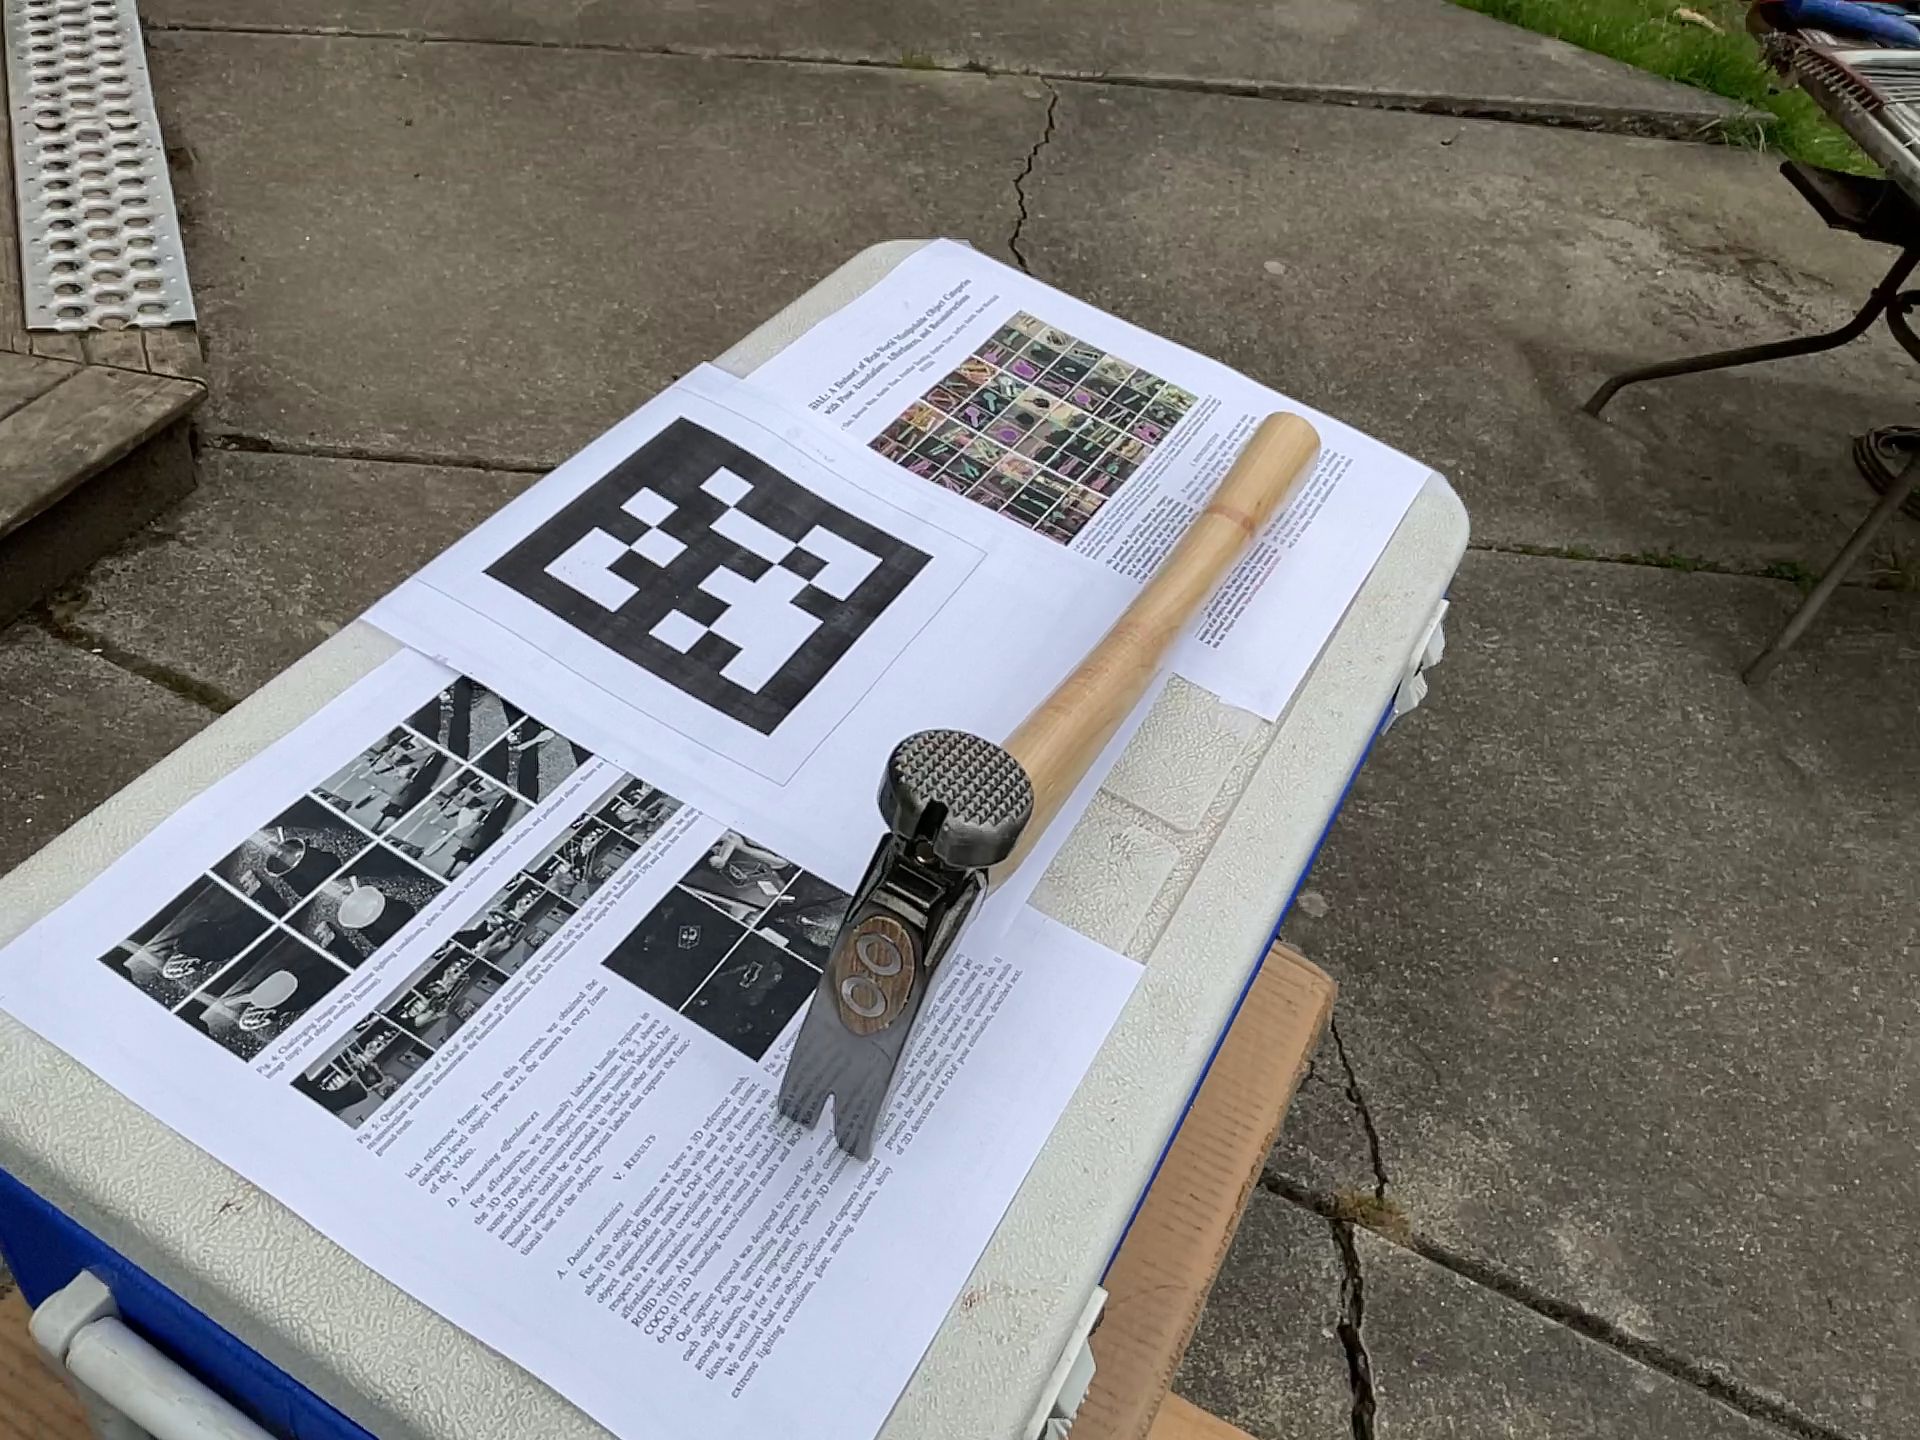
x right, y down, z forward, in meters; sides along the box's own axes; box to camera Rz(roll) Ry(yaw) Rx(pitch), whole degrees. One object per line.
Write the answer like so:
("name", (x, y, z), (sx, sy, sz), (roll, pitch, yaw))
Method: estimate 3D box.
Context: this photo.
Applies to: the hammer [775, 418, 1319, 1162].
("hammer", (0.058, -0.015, 0.583), (0.038, 0.146, 0.410), (29, 36, 11))
